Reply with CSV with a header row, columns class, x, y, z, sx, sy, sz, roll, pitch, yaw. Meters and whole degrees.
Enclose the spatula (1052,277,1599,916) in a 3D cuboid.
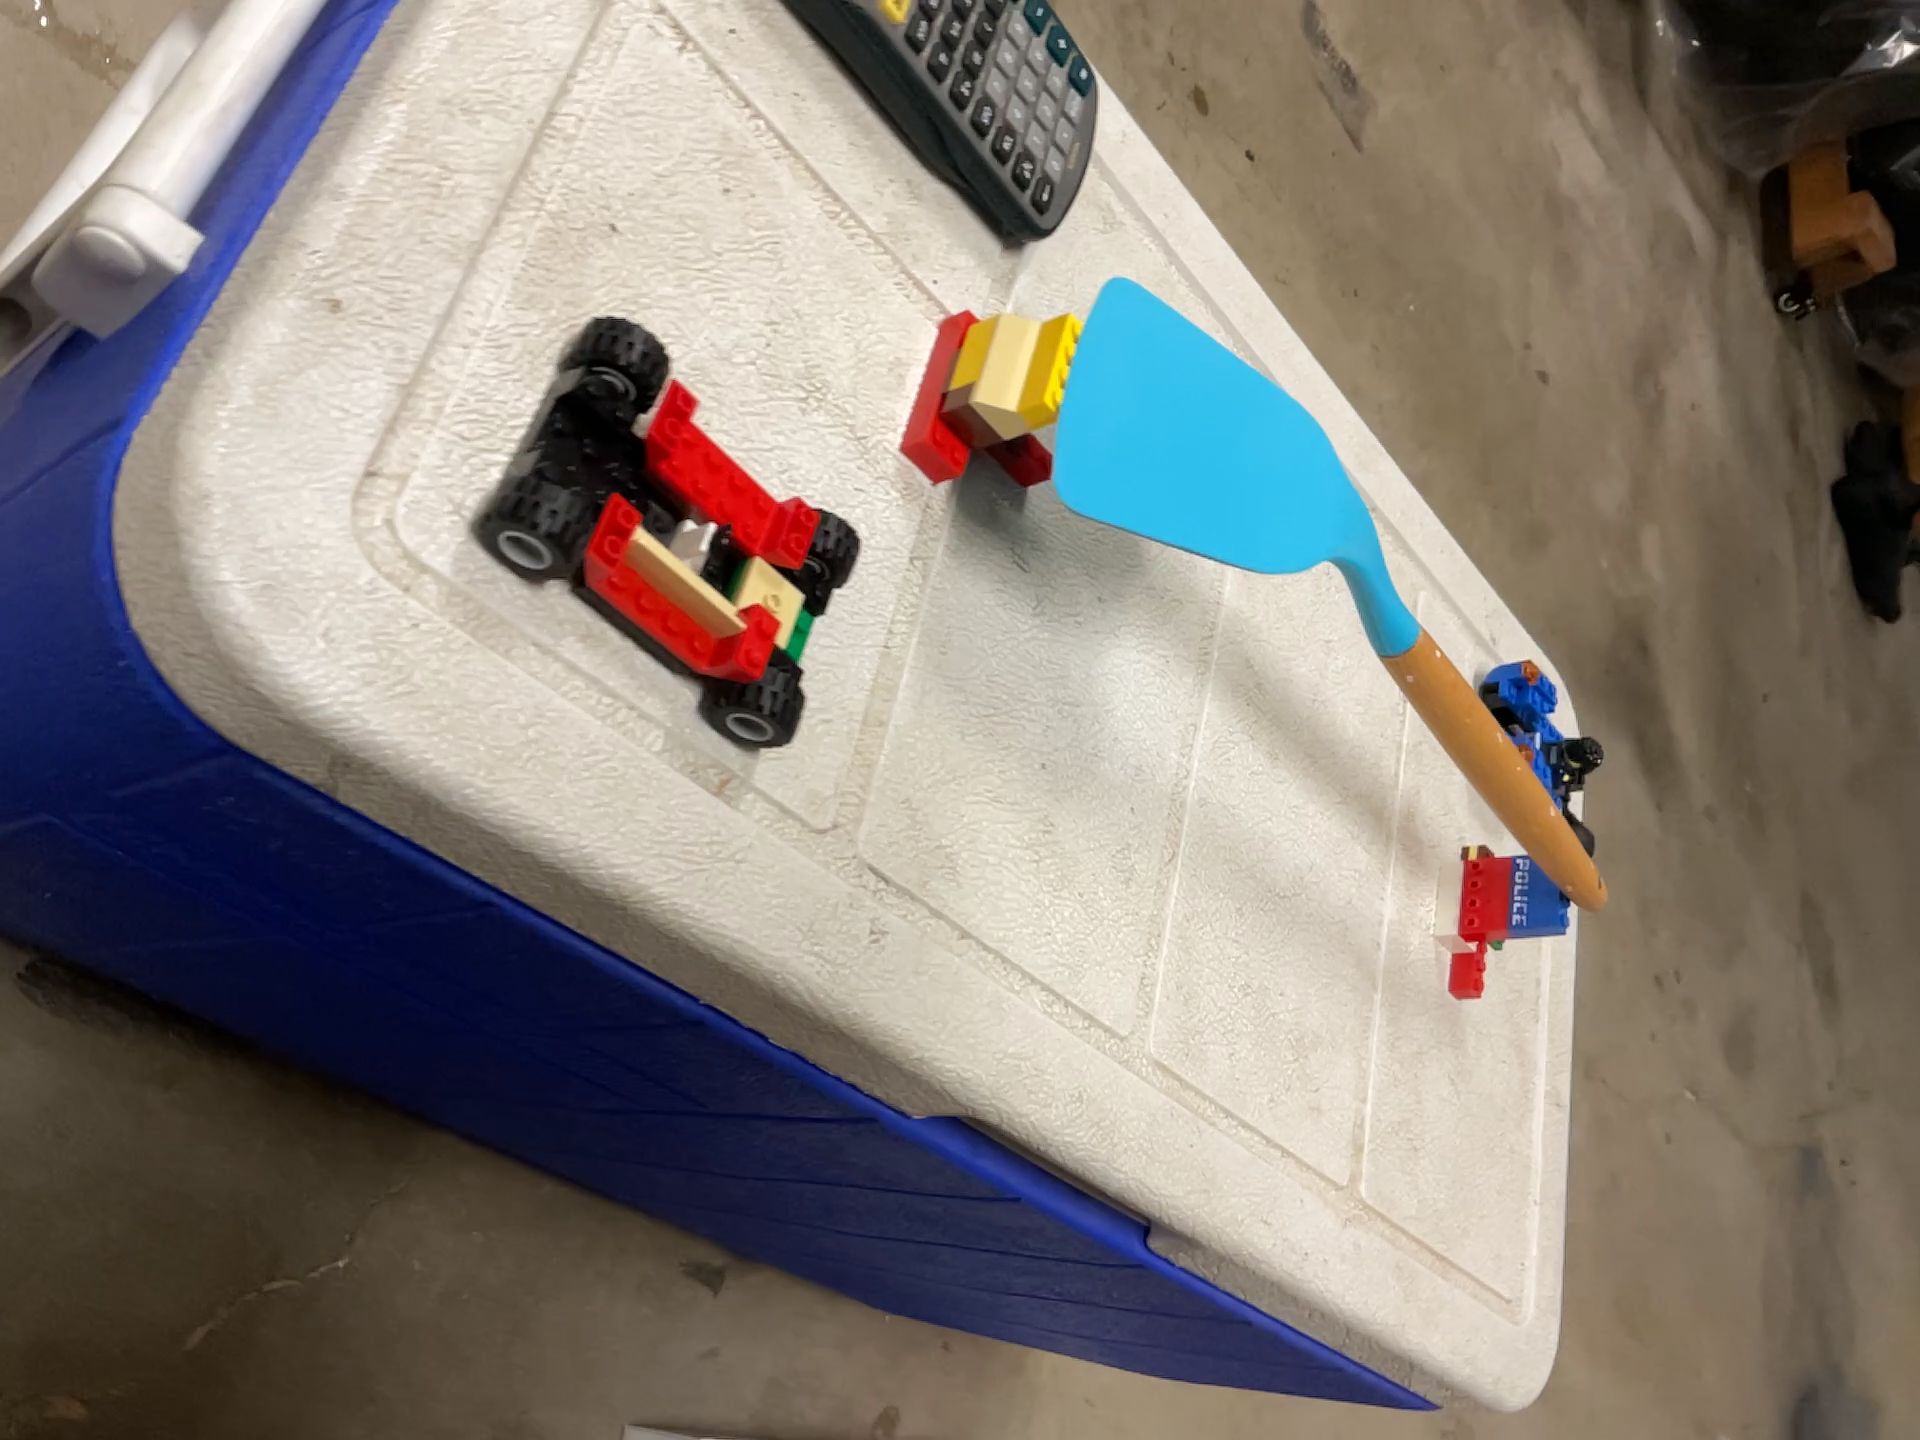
class,x,y,z,sx,sy,sz,roll,pitch,yaw
spatula,0.136,-0.012,0.504,0.317,0.044,0.082,42,51,-40
